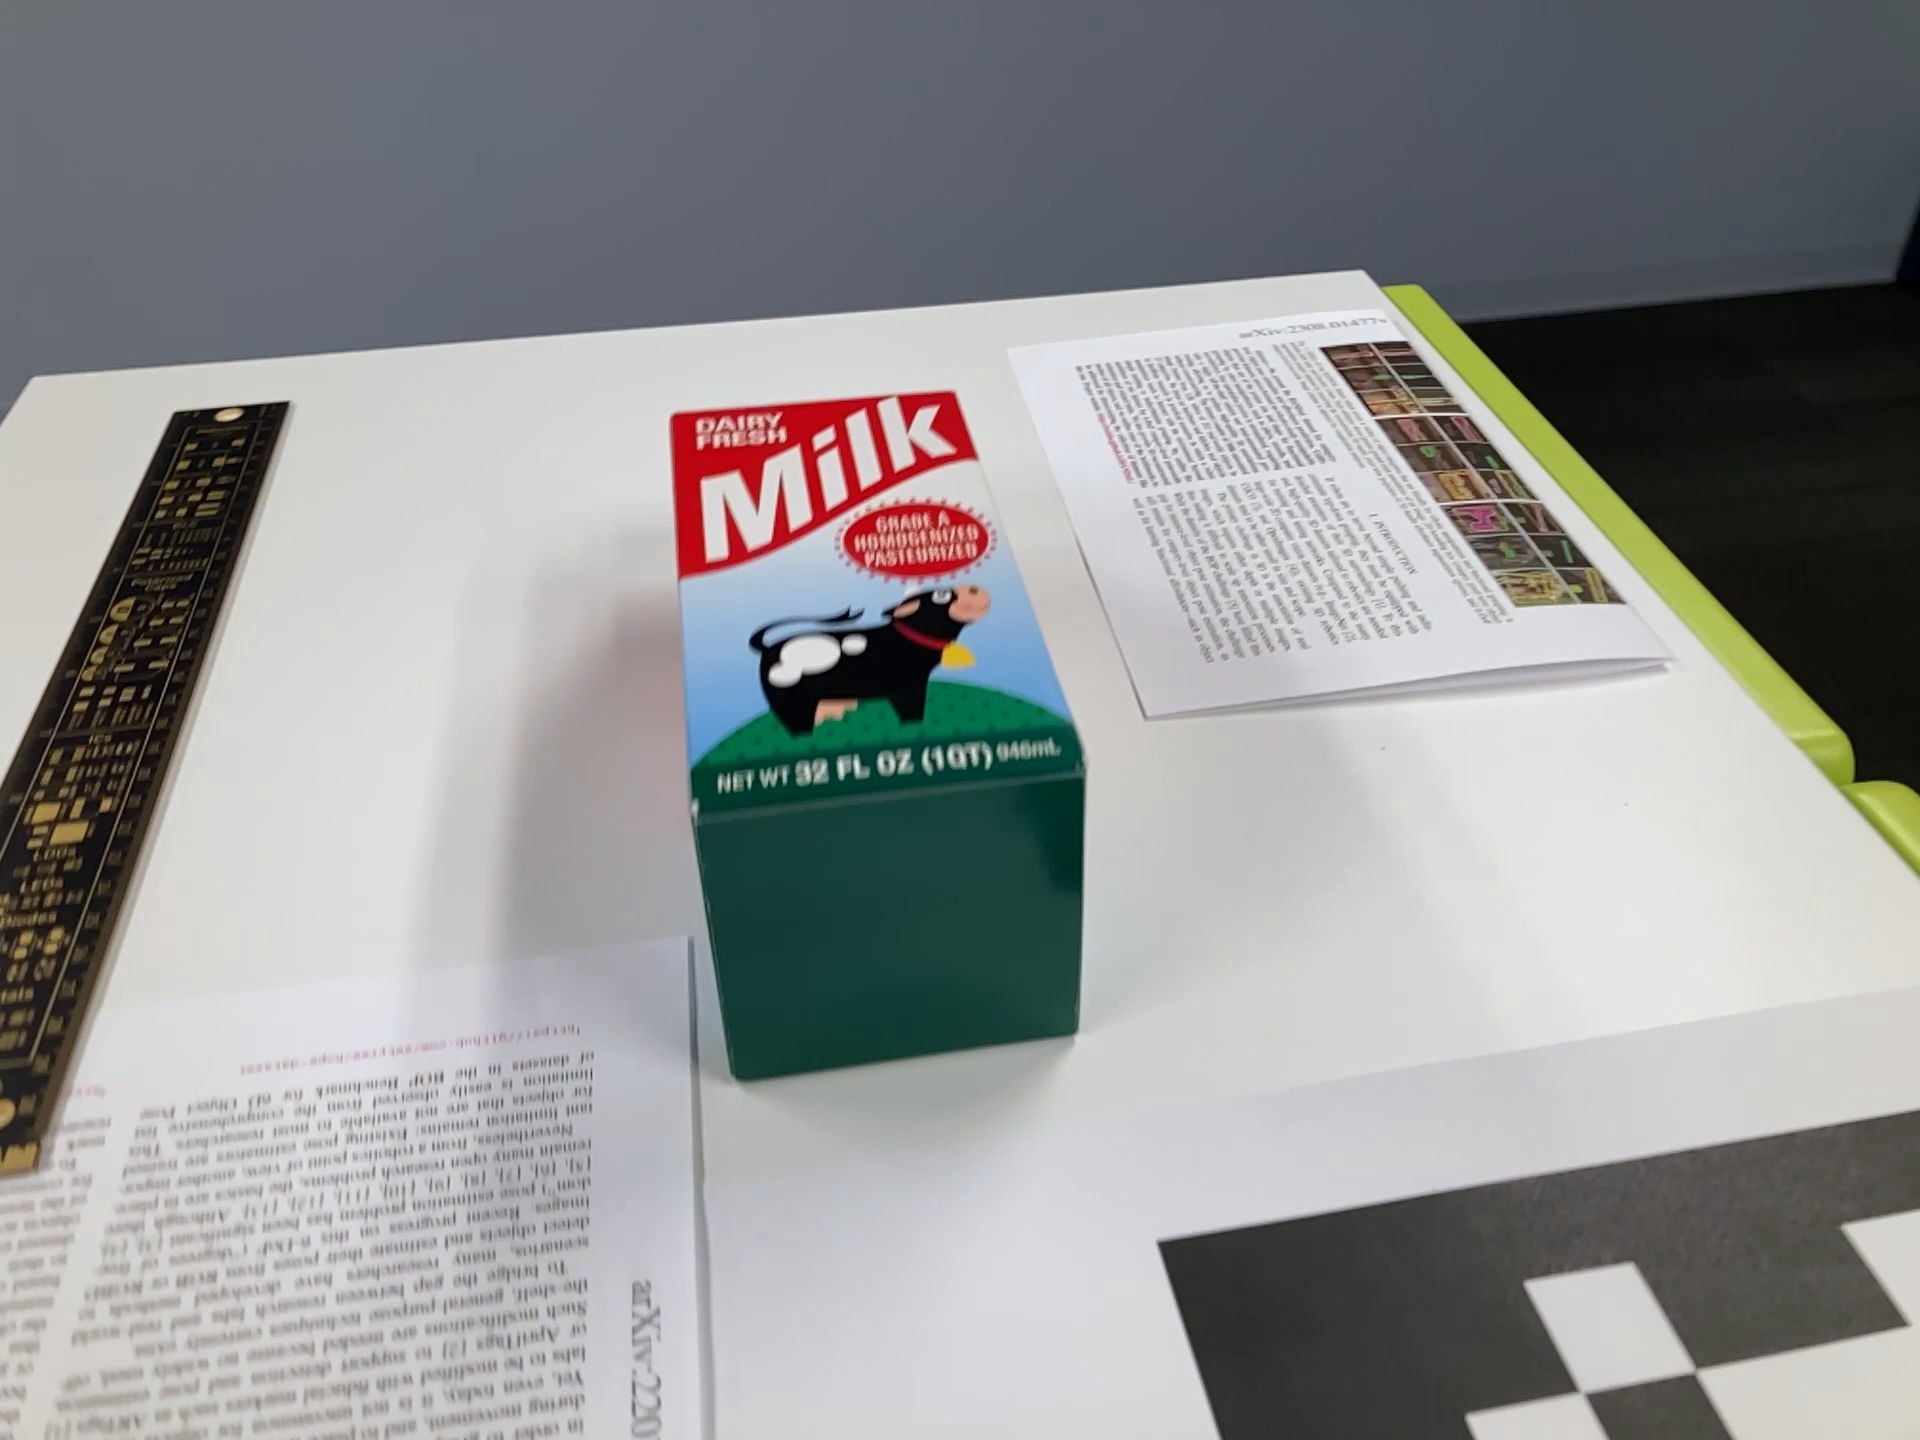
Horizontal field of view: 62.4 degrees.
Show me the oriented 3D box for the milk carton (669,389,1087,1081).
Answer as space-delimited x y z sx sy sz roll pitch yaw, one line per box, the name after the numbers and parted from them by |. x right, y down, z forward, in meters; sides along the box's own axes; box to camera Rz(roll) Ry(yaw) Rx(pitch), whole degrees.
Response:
-0.026 -0.018 0.364 0.072 0.073 0.190 -7 38 -7 | milk carton
